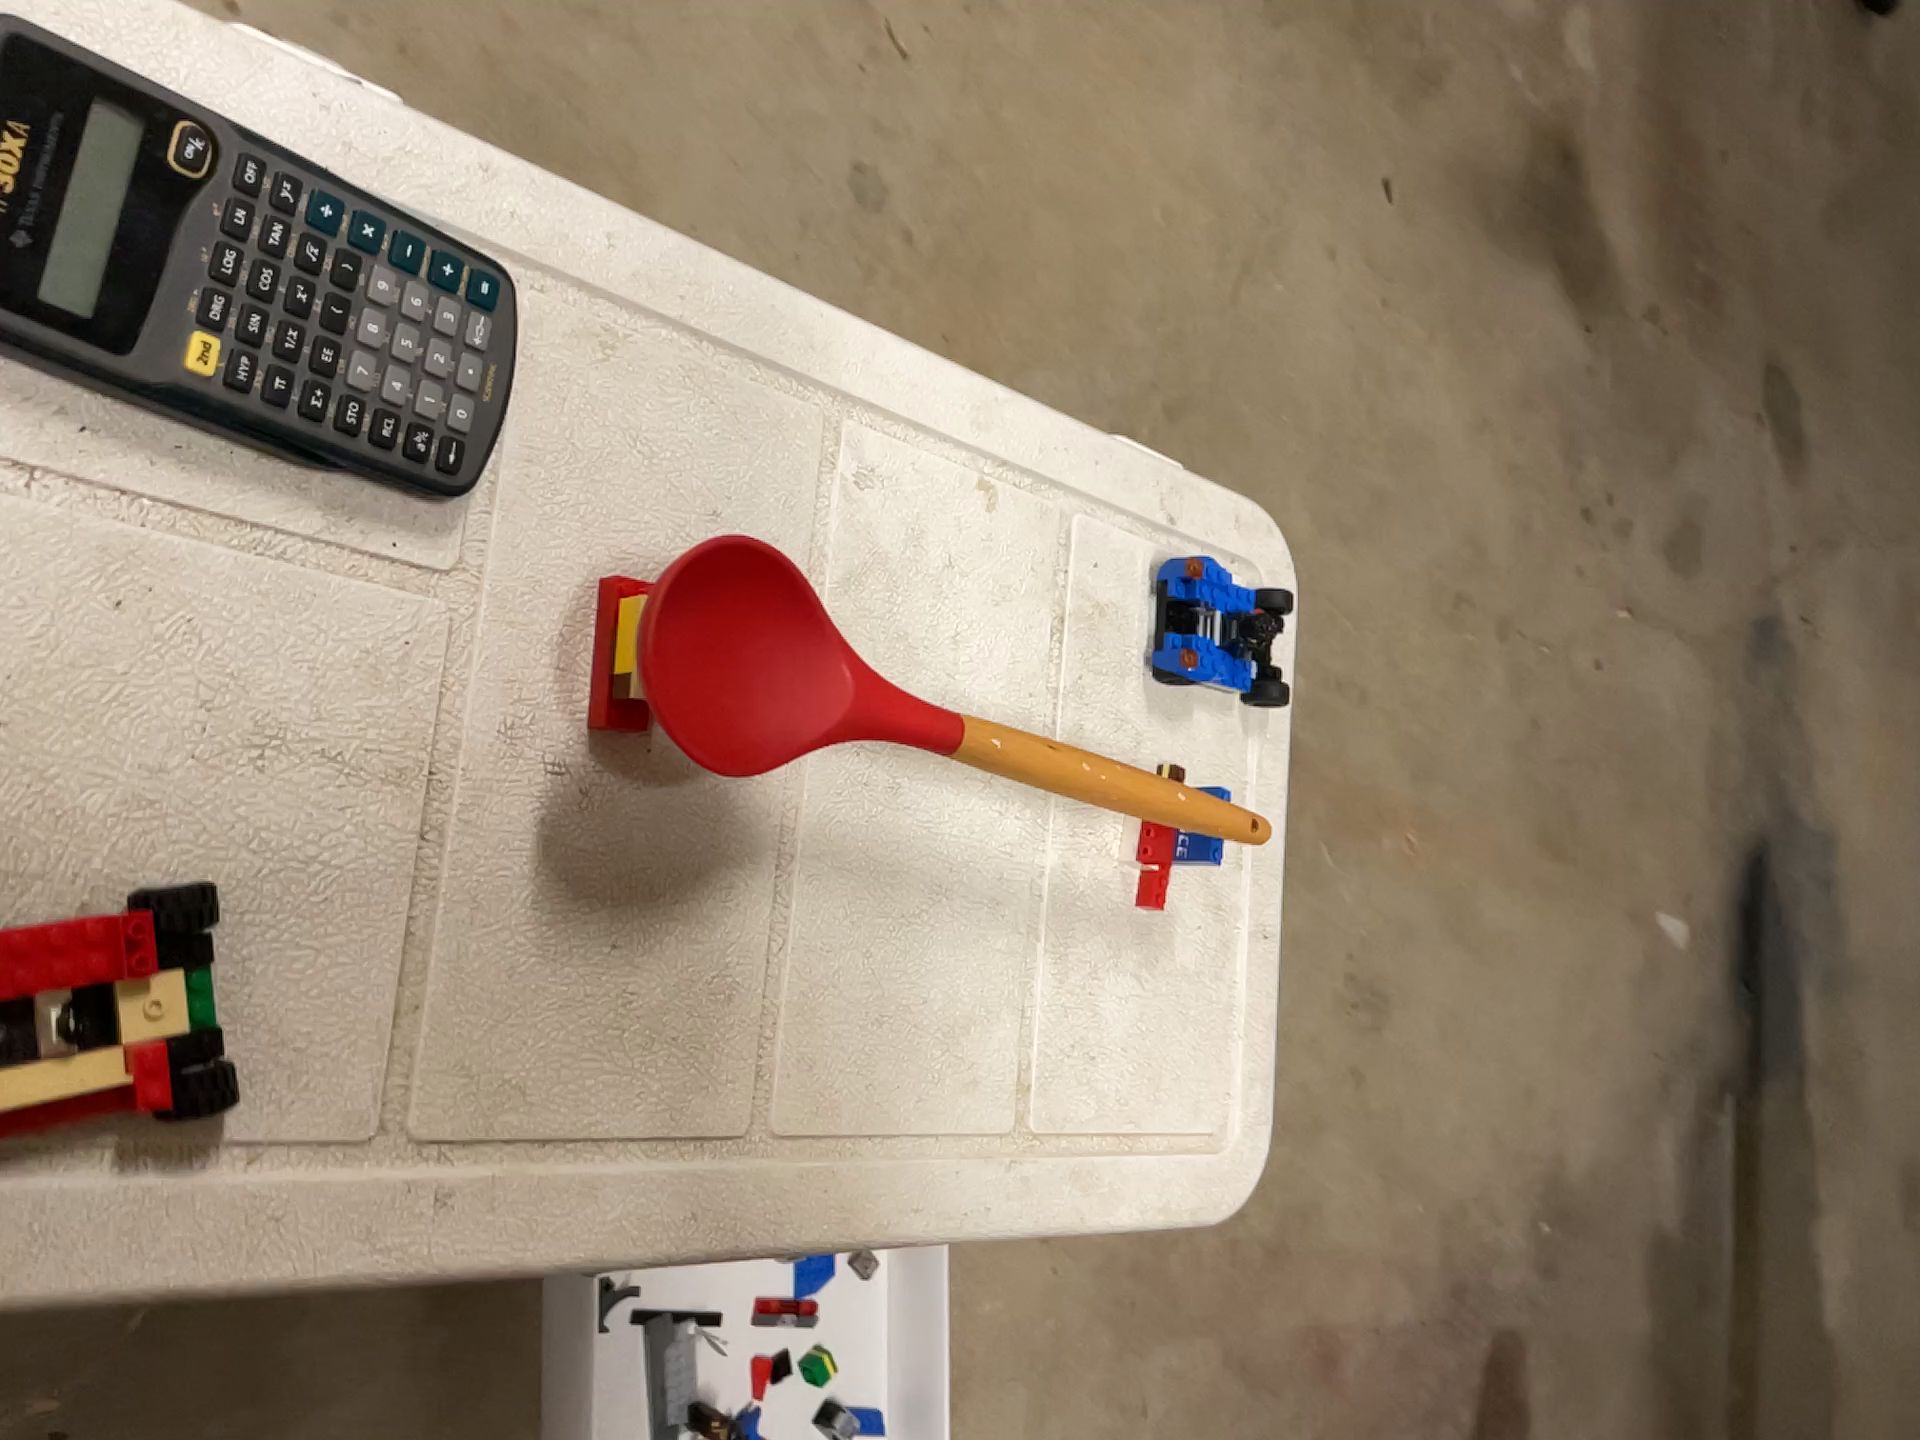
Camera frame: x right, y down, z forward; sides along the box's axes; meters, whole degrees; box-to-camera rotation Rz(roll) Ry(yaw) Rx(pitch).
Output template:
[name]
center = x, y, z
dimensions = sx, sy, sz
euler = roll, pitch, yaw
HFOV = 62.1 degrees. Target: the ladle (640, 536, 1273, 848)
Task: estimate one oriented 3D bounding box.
[ladle]
center = 0.016, 0.010, 0.548
dimensions = 0.315, 0.031, 0.069
euler = 19, 79, -43
